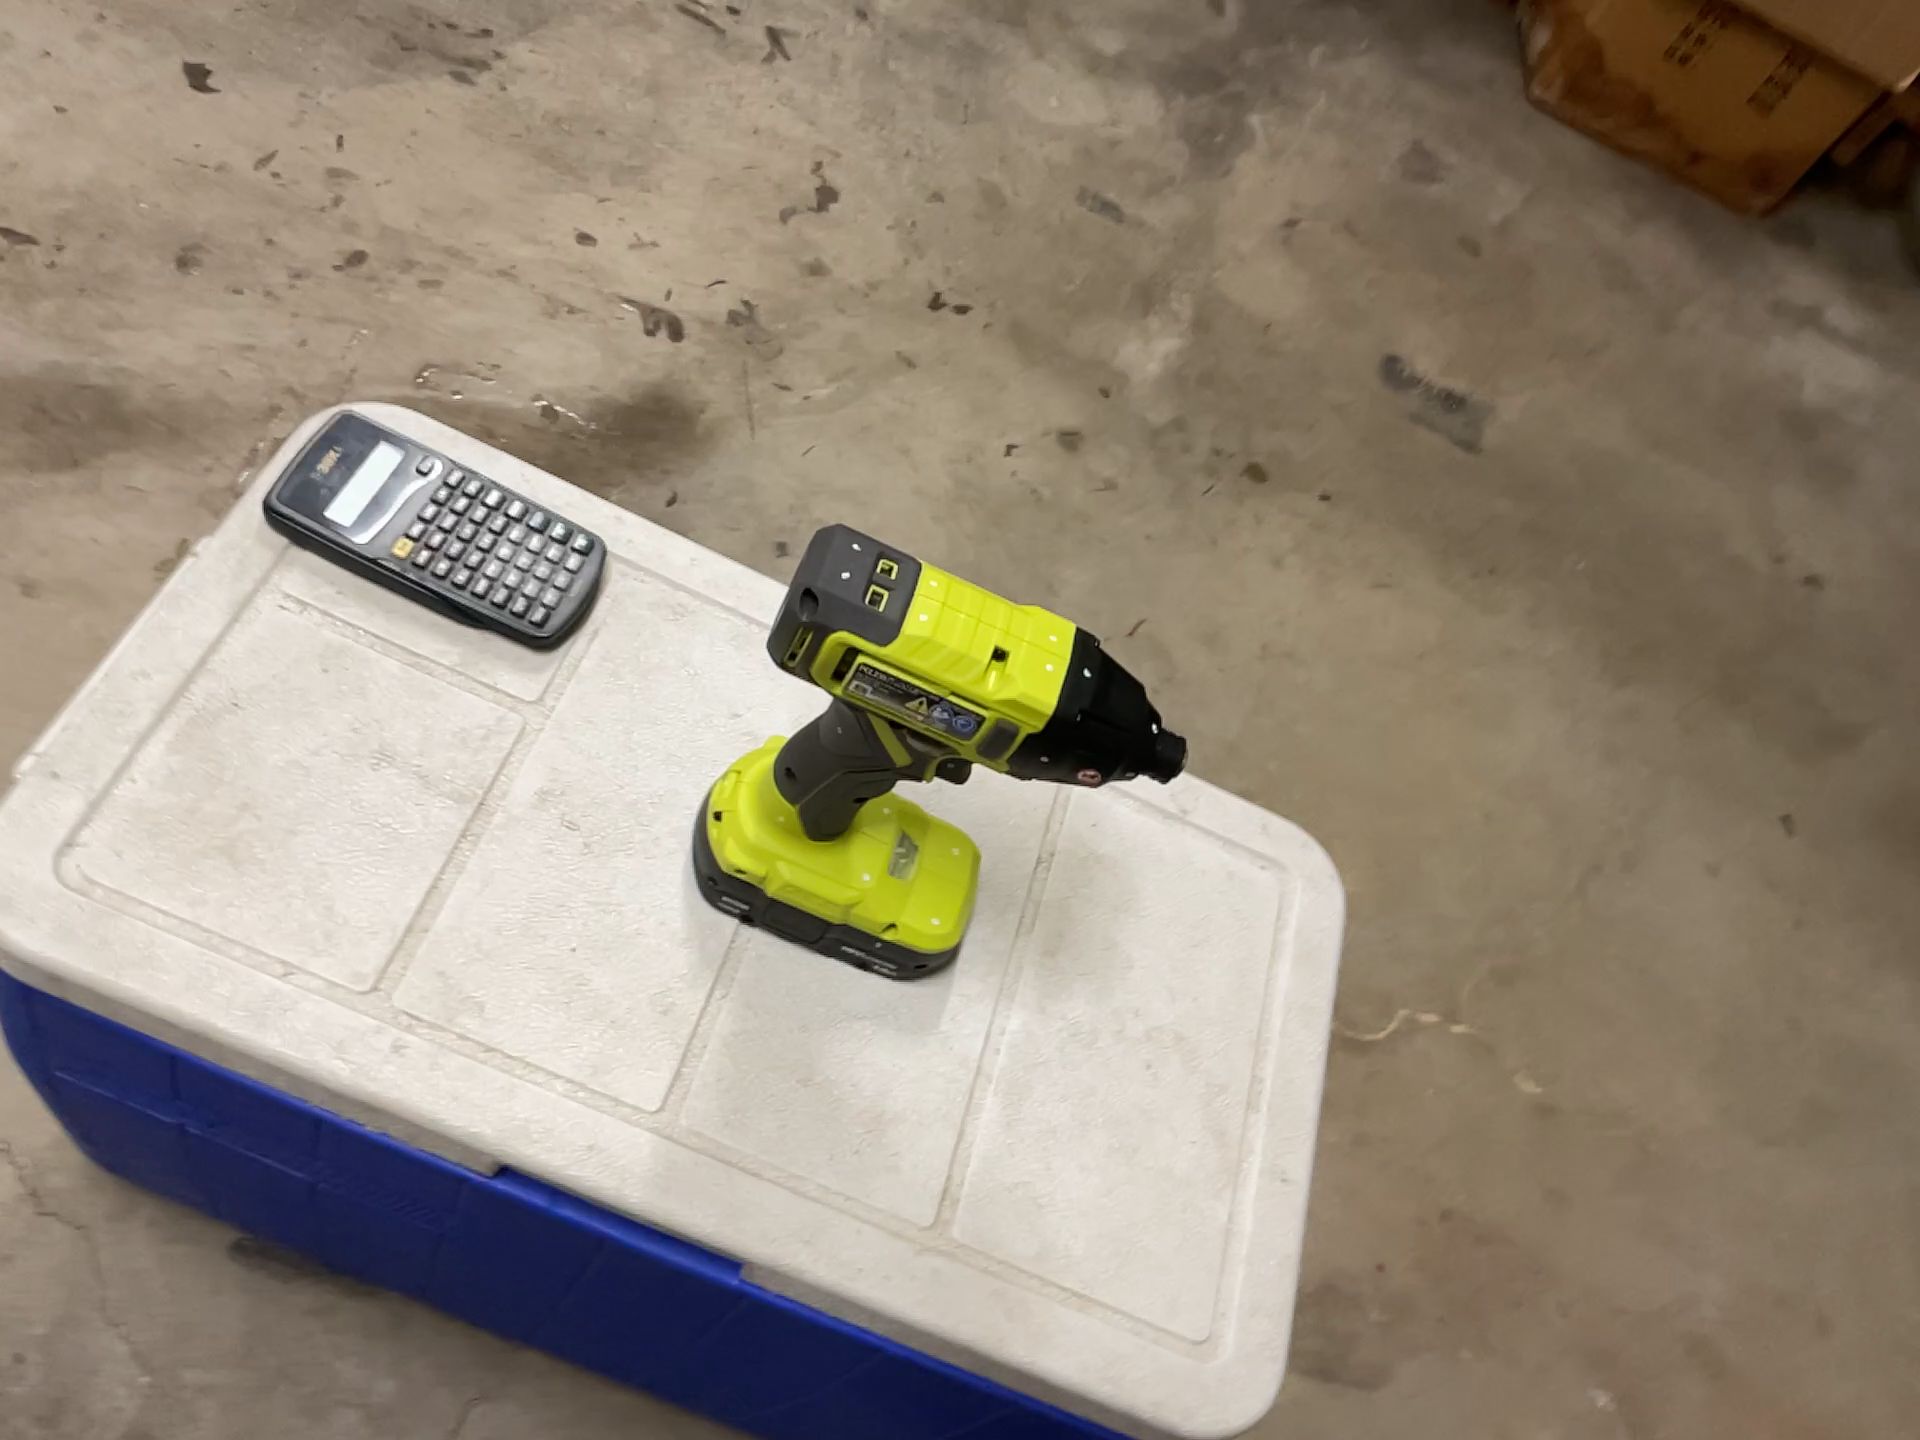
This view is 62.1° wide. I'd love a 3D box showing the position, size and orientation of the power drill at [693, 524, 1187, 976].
[{"bbox_3d":[-0.020,0.025,0.694,0.171,0.223,0.080,24,53,-10],"label":"power drill"}]
